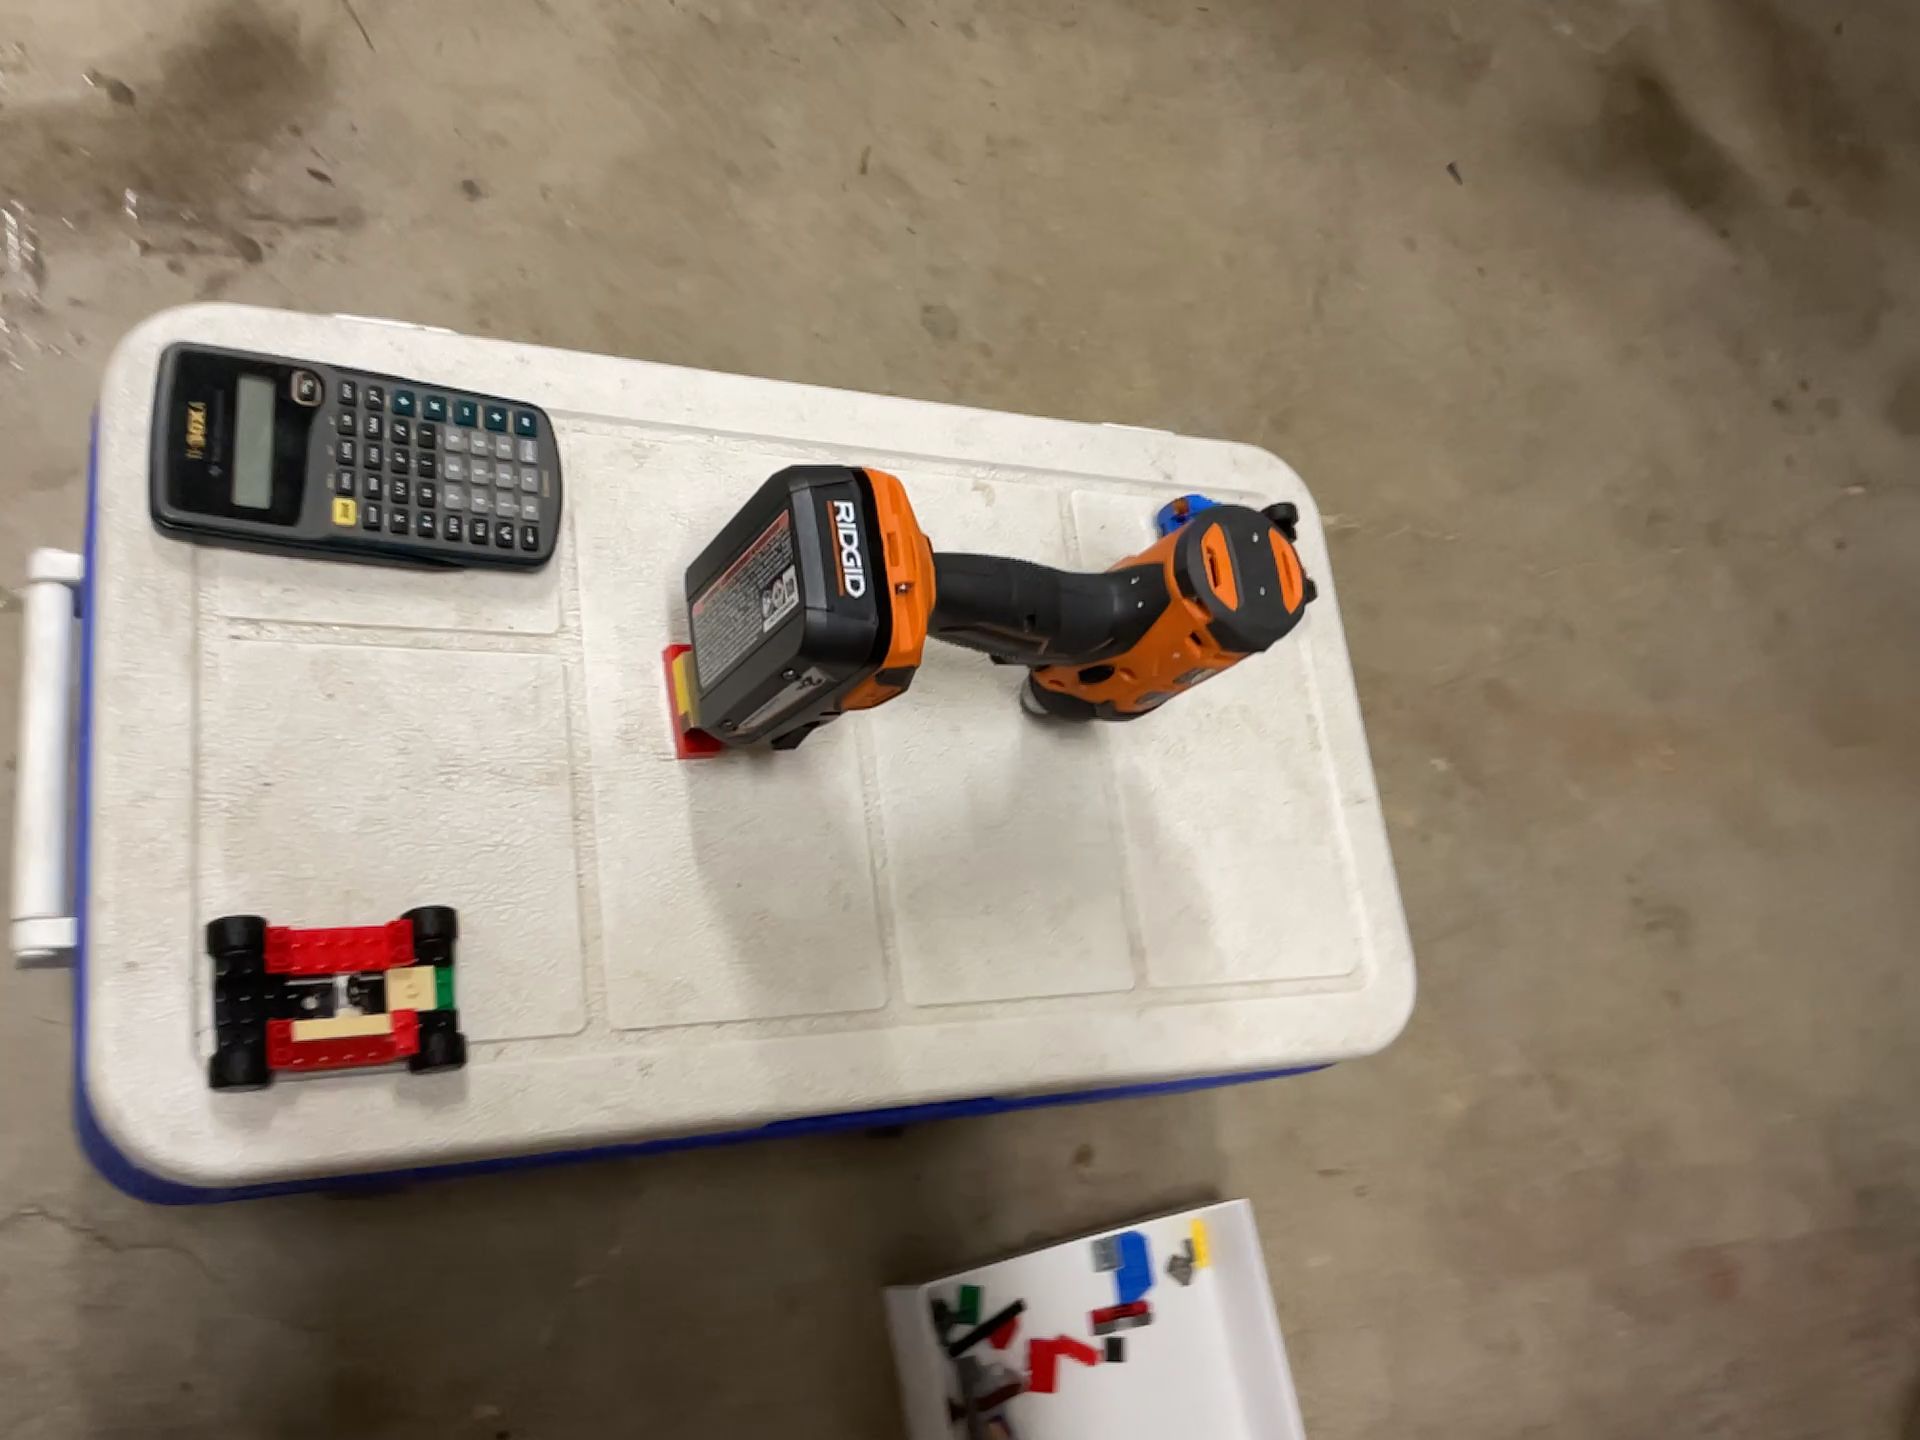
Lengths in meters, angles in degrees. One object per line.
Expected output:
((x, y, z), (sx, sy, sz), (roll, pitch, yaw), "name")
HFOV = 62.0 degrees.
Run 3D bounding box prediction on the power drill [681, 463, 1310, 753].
((0.007, -0.035, 0.654), (0.226, 0.164, 0.084), (0, 71, -31), "power drill")
